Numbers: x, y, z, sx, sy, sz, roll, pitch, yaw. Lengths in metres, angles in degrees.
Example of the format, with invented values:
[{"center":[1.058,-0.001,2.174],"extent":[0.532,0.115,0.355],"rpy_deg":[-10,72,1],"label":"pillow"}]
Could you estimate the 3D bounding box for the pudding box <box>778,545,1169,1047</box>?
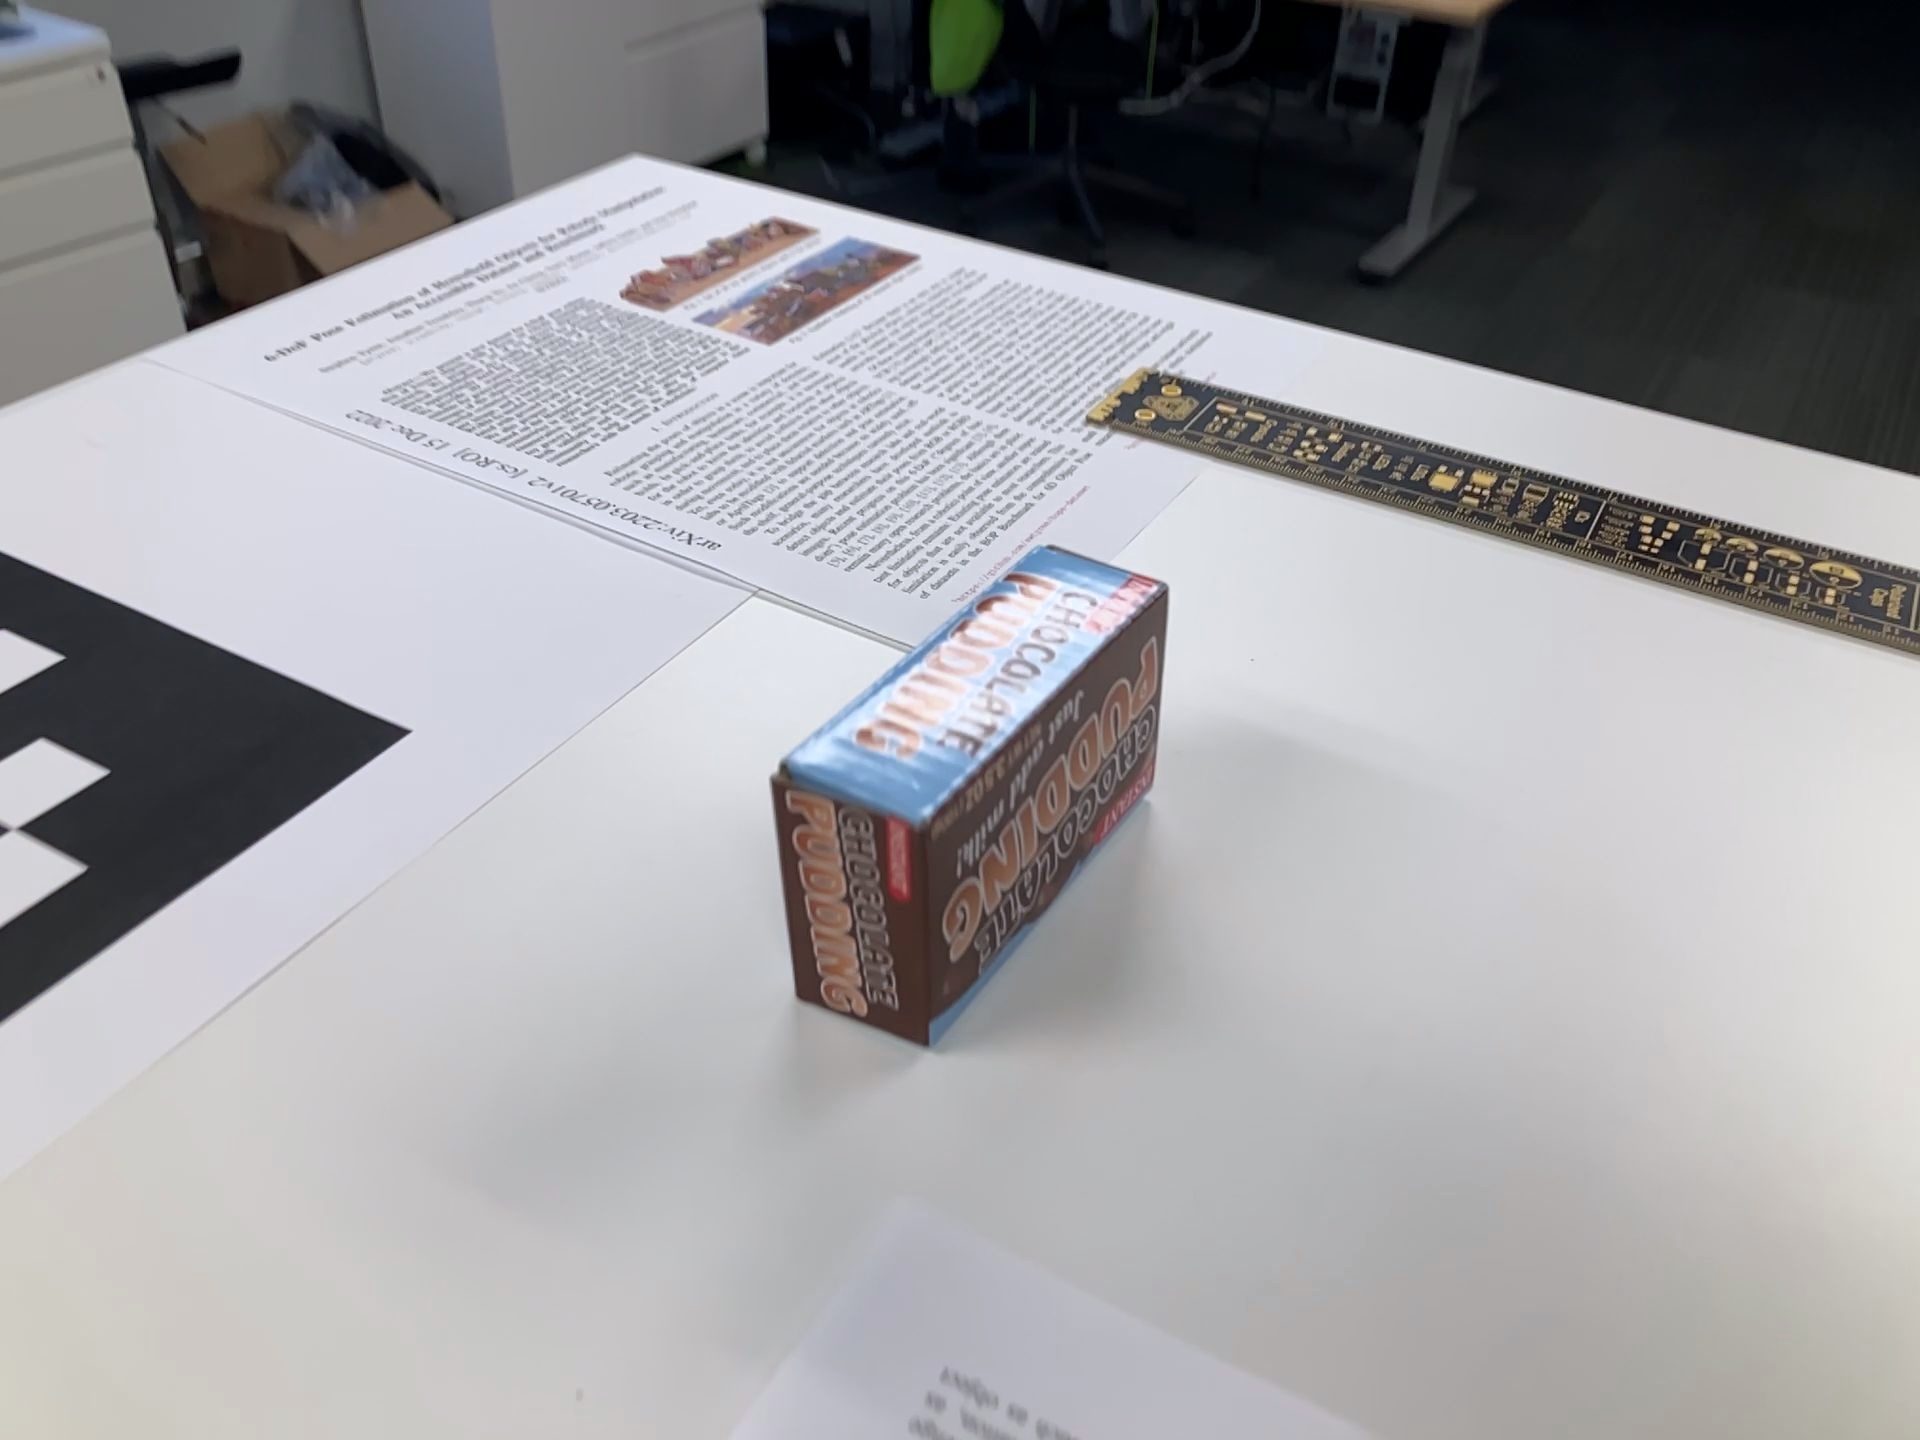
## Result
[{"center":[0.005,0.011,0.279],"extent":[0.030,0.049,0.083],"rpy_deg":[20,40,25],"label":"pudding box"}]
